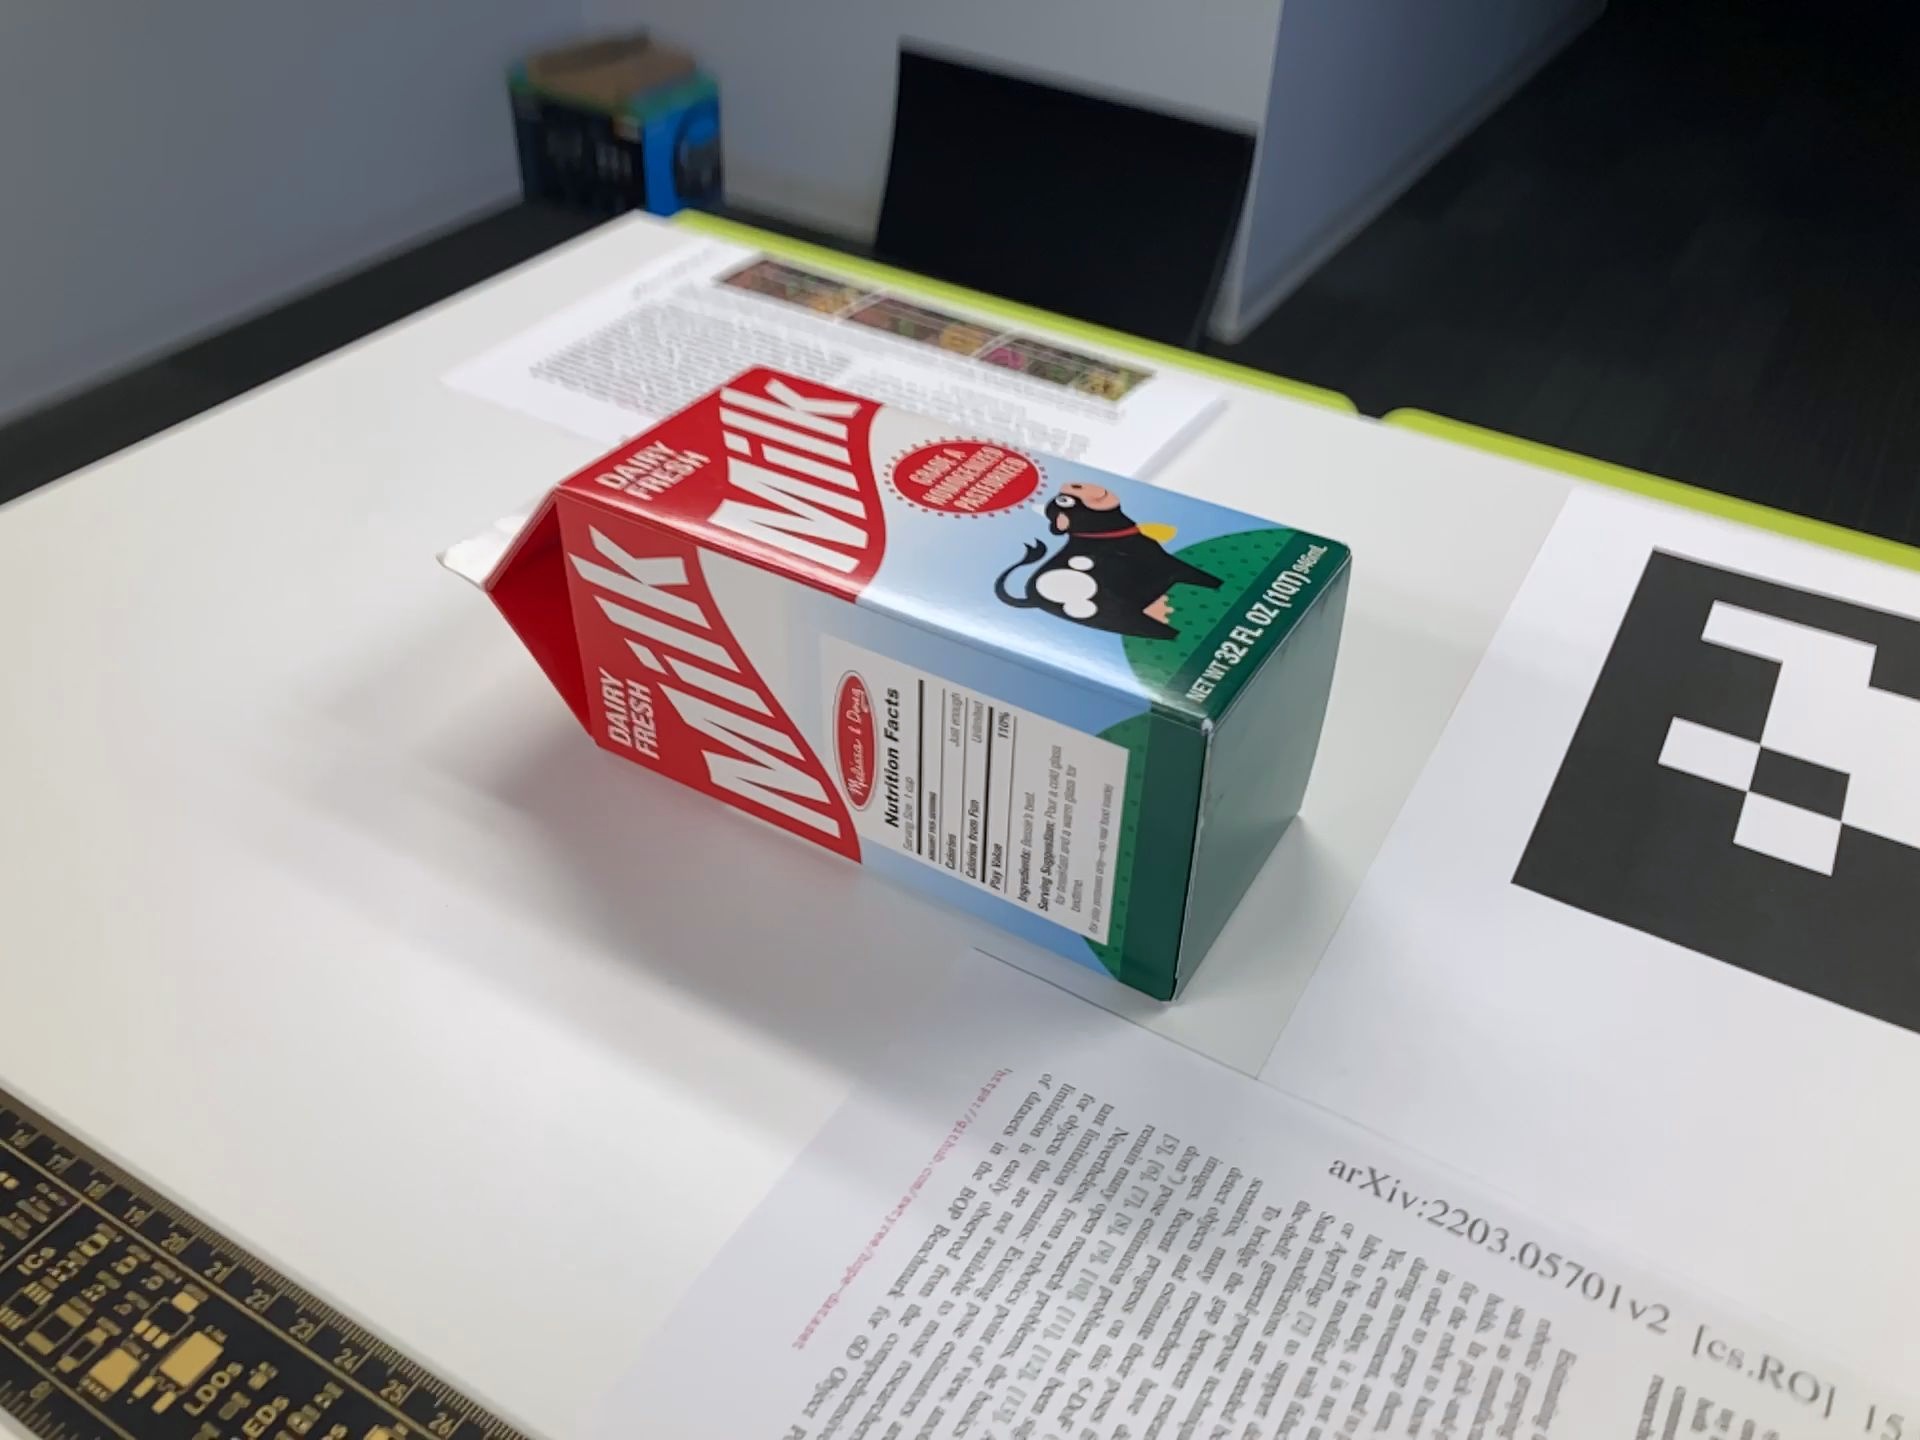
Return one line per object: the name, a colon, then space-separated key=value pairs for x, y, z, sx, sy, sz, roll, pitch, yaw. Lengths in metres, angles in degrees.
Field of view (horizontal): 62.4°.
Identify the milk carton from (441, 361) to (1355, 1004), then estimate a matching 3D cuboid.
milk carton: x=-0.021 y=-0.021 z=0.349 sx=0.190 sy=0.073 sz=0.072 roll=21 pitch=43 yaw=23
